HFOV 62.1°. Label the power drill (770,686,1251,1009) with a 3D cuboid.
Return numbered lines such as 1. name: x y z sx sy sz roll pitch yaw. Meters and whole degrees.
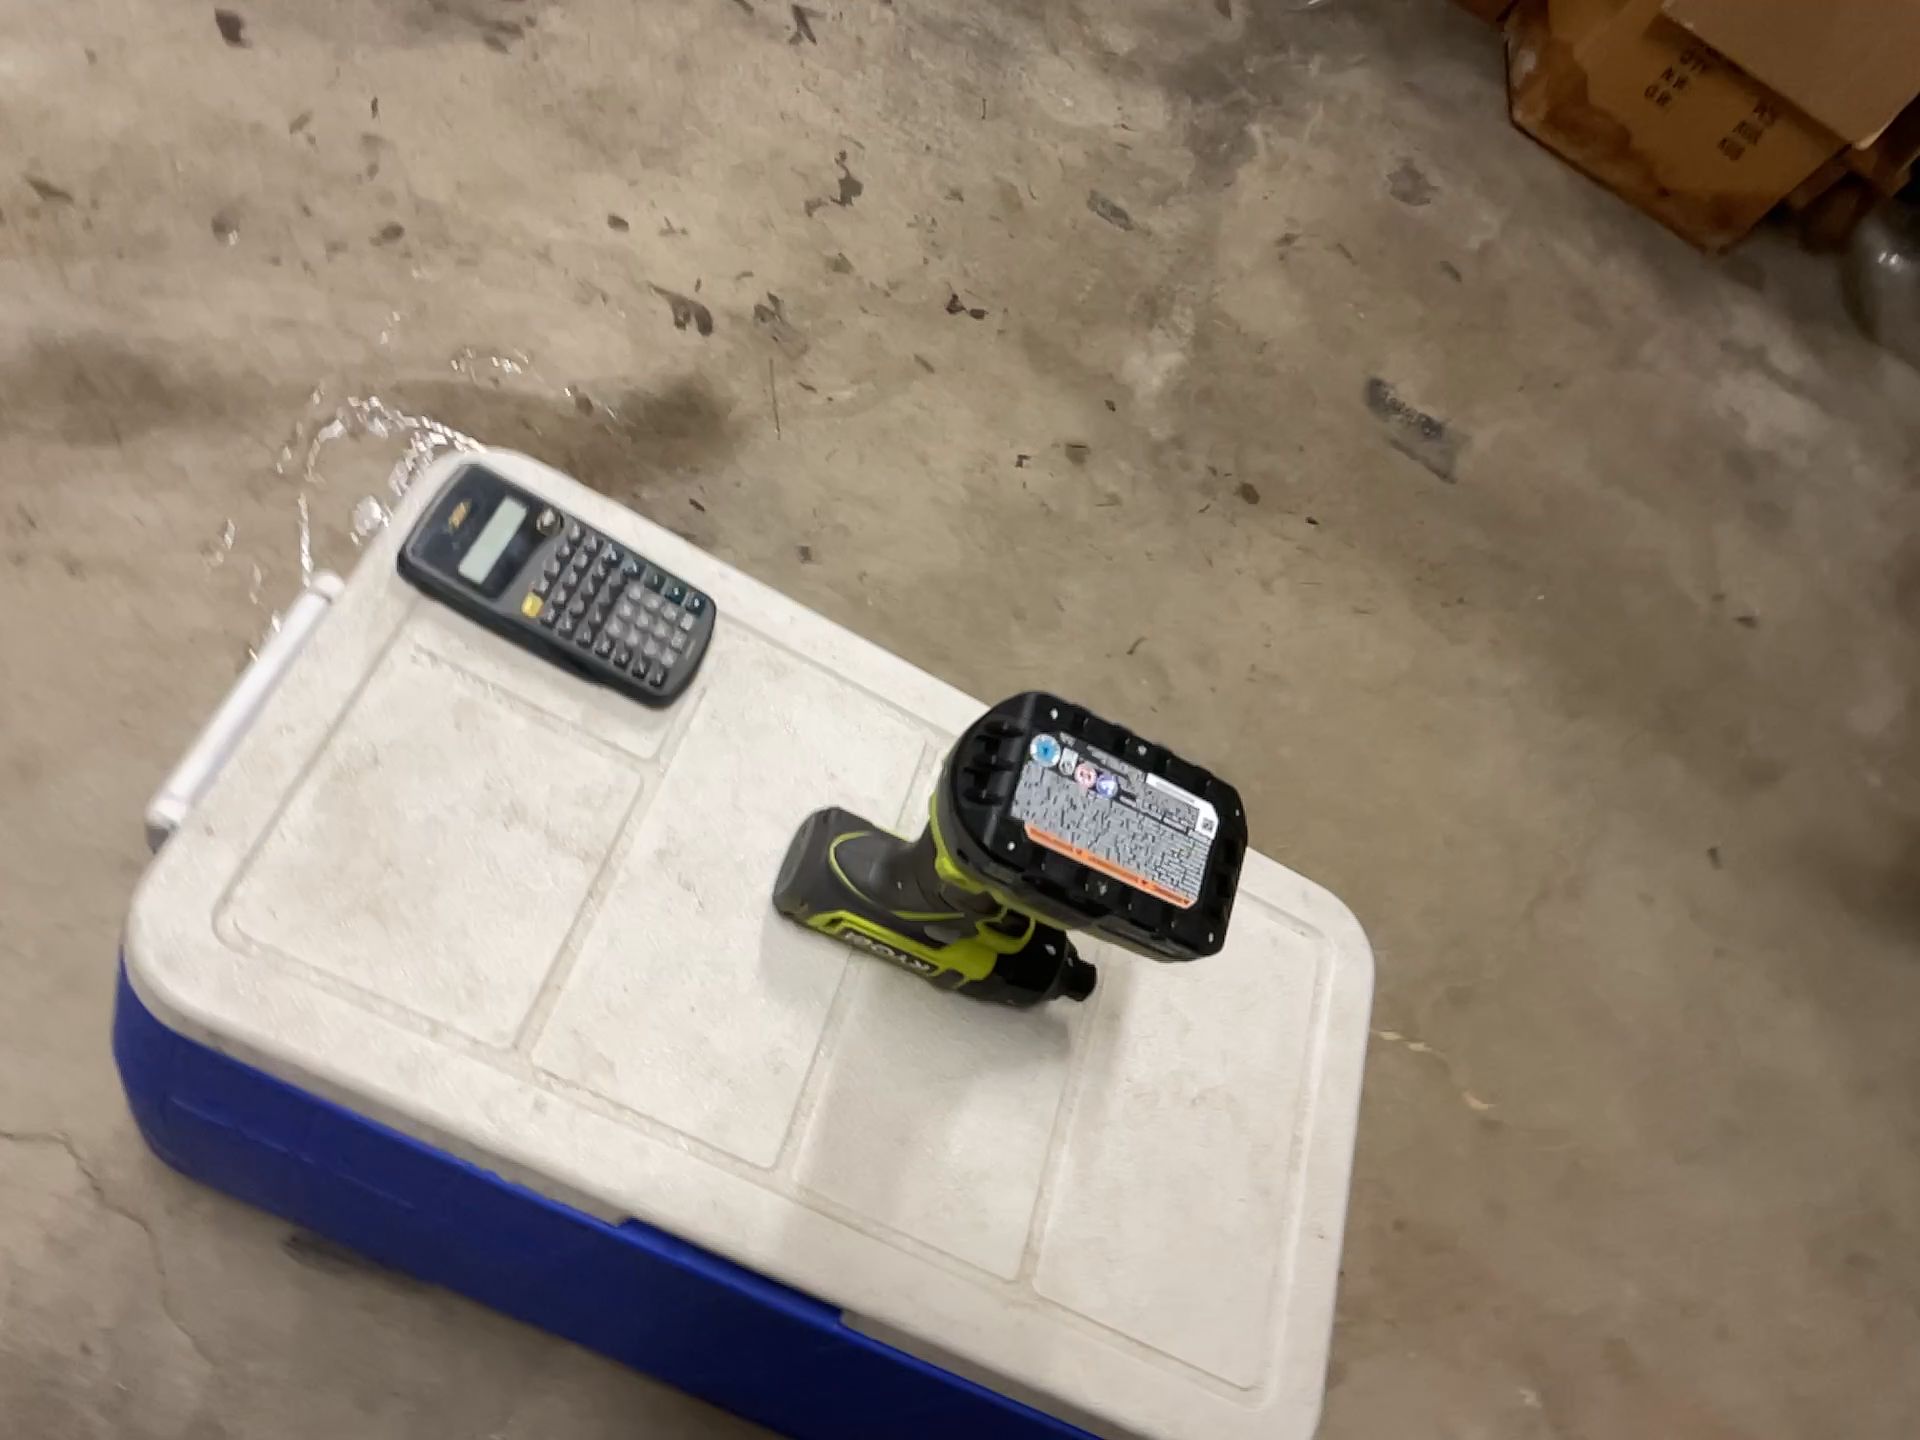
1. power drill: 0.026 0.074 0.724 0.171 0.223 0.080 26 64 -14
